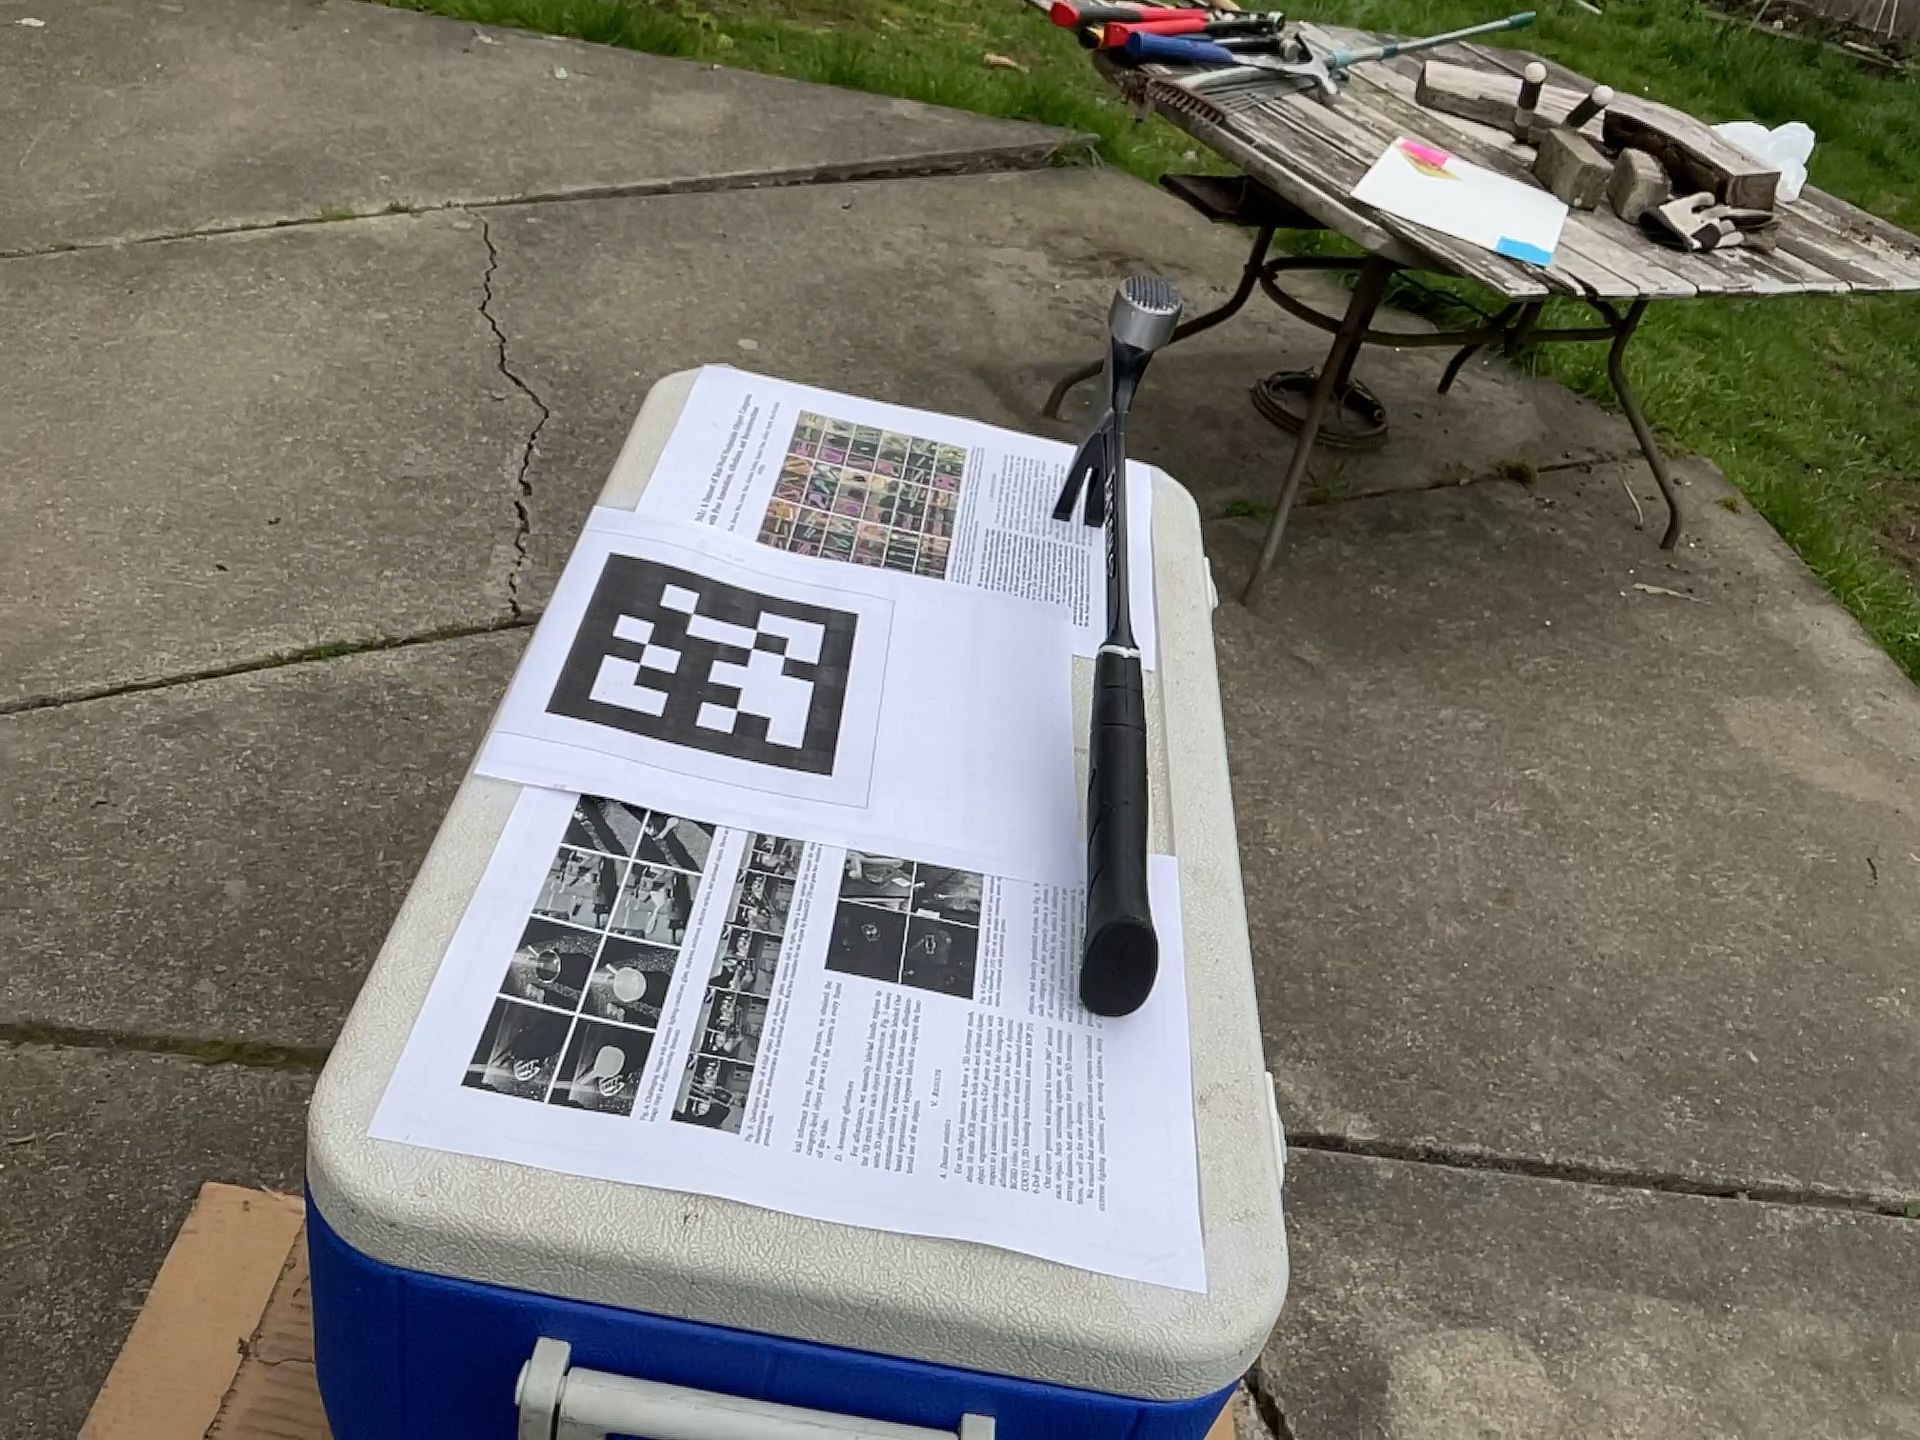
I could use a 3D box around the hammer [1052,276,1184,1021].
[{"bbox_3d":[0.073,-0.039,0.760,0.036,0.149,0.409,11,47,-6],"label":"hammer"}]
